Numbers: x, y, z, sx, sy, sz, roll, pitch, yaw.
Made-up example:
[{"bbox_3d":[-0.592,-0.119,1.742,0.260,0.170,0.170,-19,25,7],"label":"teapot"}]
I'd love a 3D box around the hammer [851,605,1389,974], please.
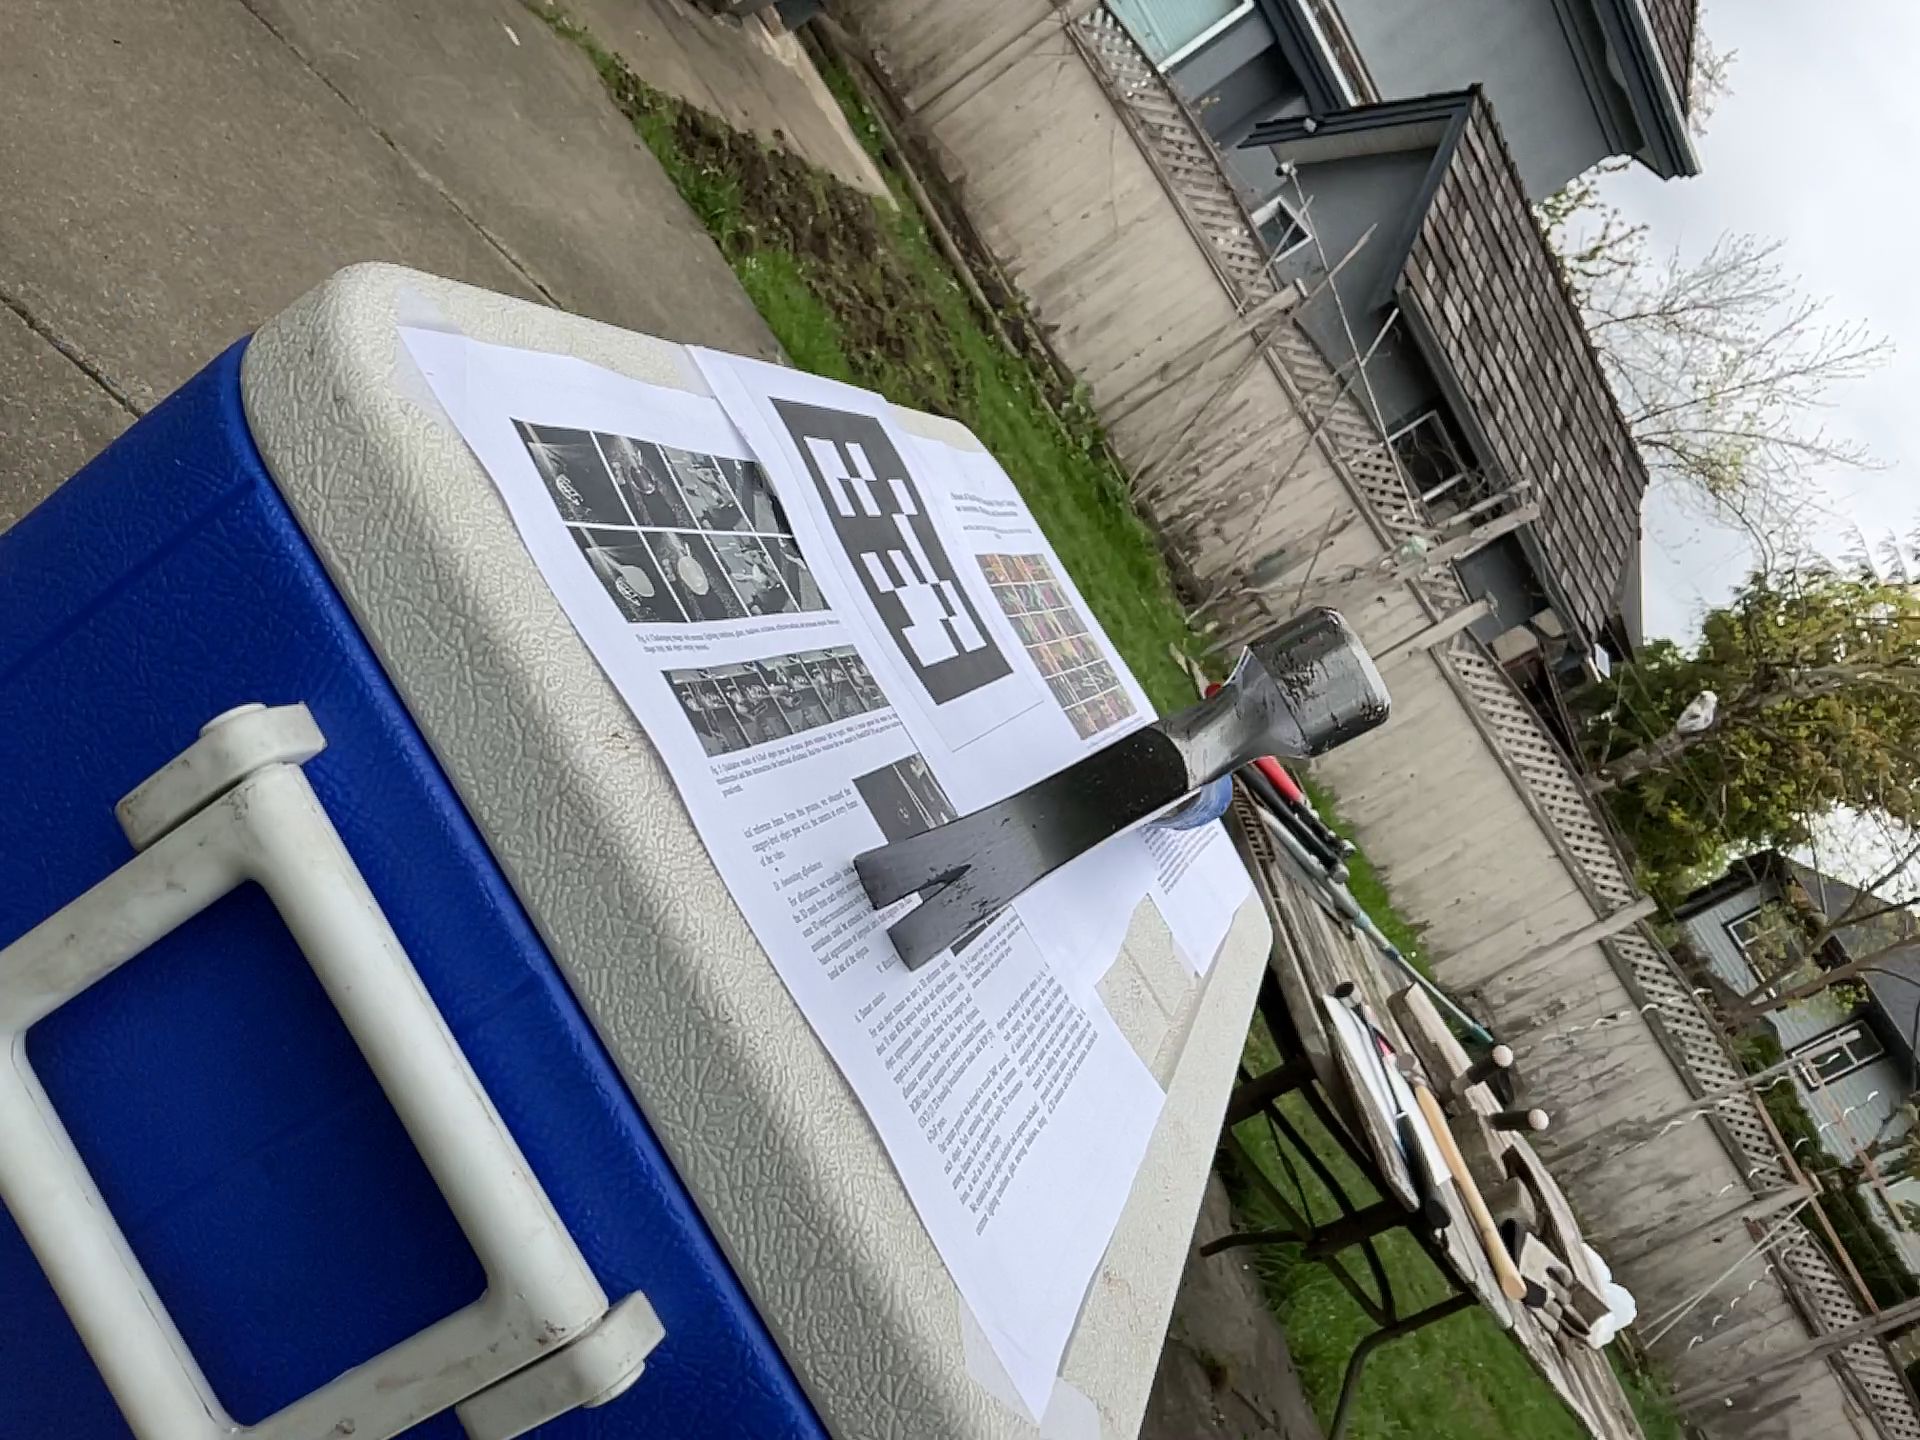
[{"bbox_3d":[0.070,0.029,0.589,0.035,0.144,0.405,62,7,8],"label":"hammer"}]
